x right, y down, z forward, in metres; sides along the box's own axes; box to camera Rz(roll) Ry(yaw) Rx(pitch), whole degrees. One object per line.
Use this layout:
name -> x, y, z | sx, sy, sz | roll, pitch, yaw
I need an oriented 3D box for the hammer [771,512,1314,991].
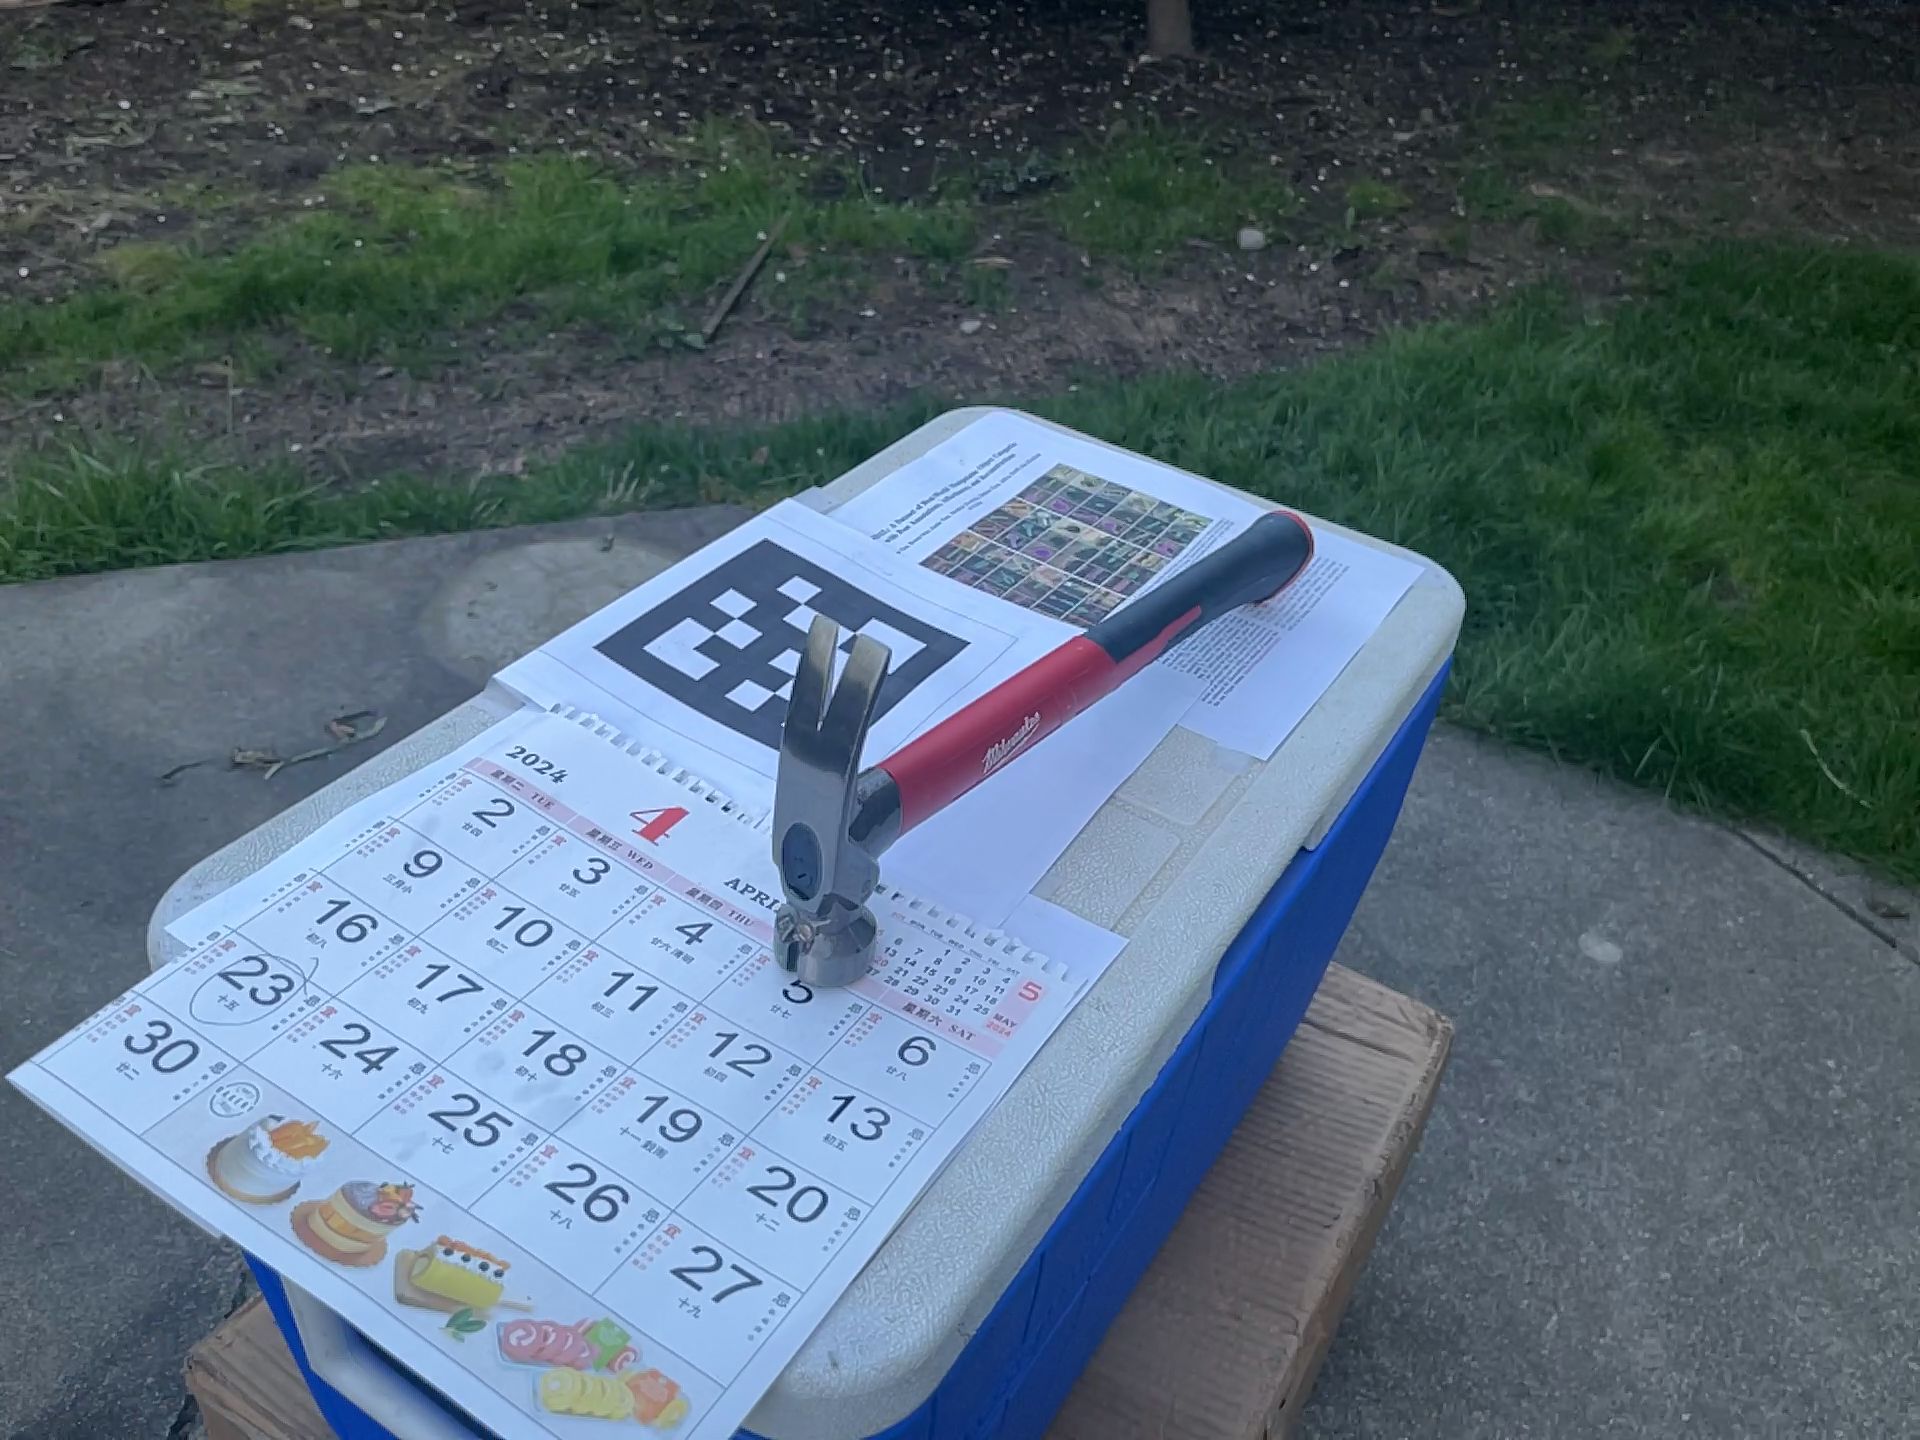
hammer -> 0.060, -0.036, 0.662 | 0.038, 0.143, 0.386 | 27, 37, 26
